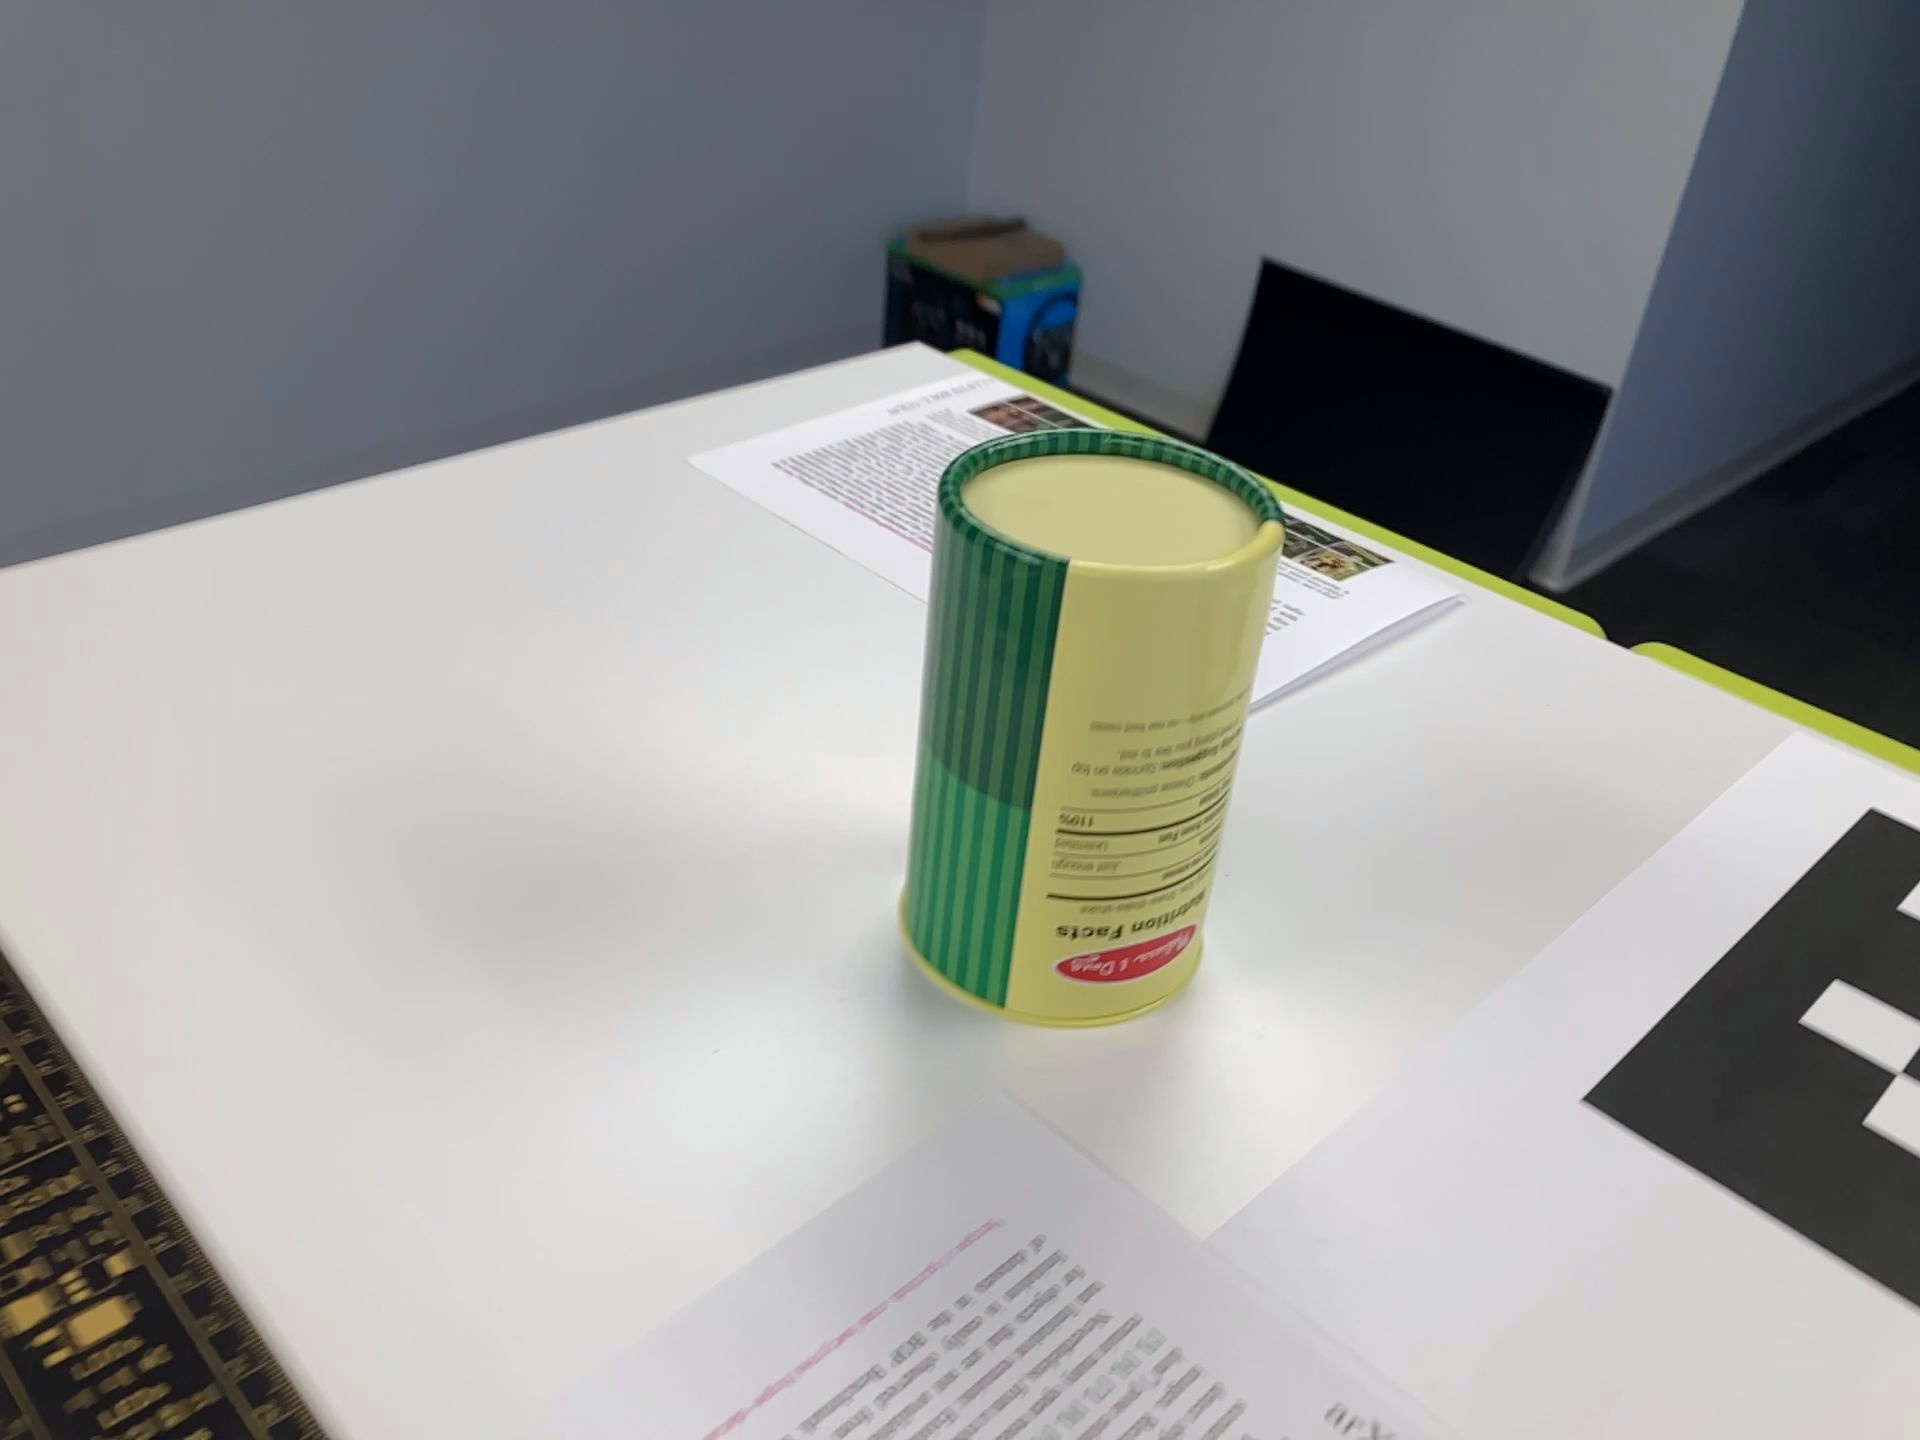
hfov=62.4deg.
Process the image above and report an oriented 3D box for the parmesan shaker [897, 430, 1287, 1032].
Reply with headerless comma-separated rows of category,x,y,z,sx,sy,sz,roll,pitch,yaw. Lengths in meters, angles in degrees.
parmesan shaker,0.026,0.001,0.319,0.071,0.103,0.071,4,32,-3
